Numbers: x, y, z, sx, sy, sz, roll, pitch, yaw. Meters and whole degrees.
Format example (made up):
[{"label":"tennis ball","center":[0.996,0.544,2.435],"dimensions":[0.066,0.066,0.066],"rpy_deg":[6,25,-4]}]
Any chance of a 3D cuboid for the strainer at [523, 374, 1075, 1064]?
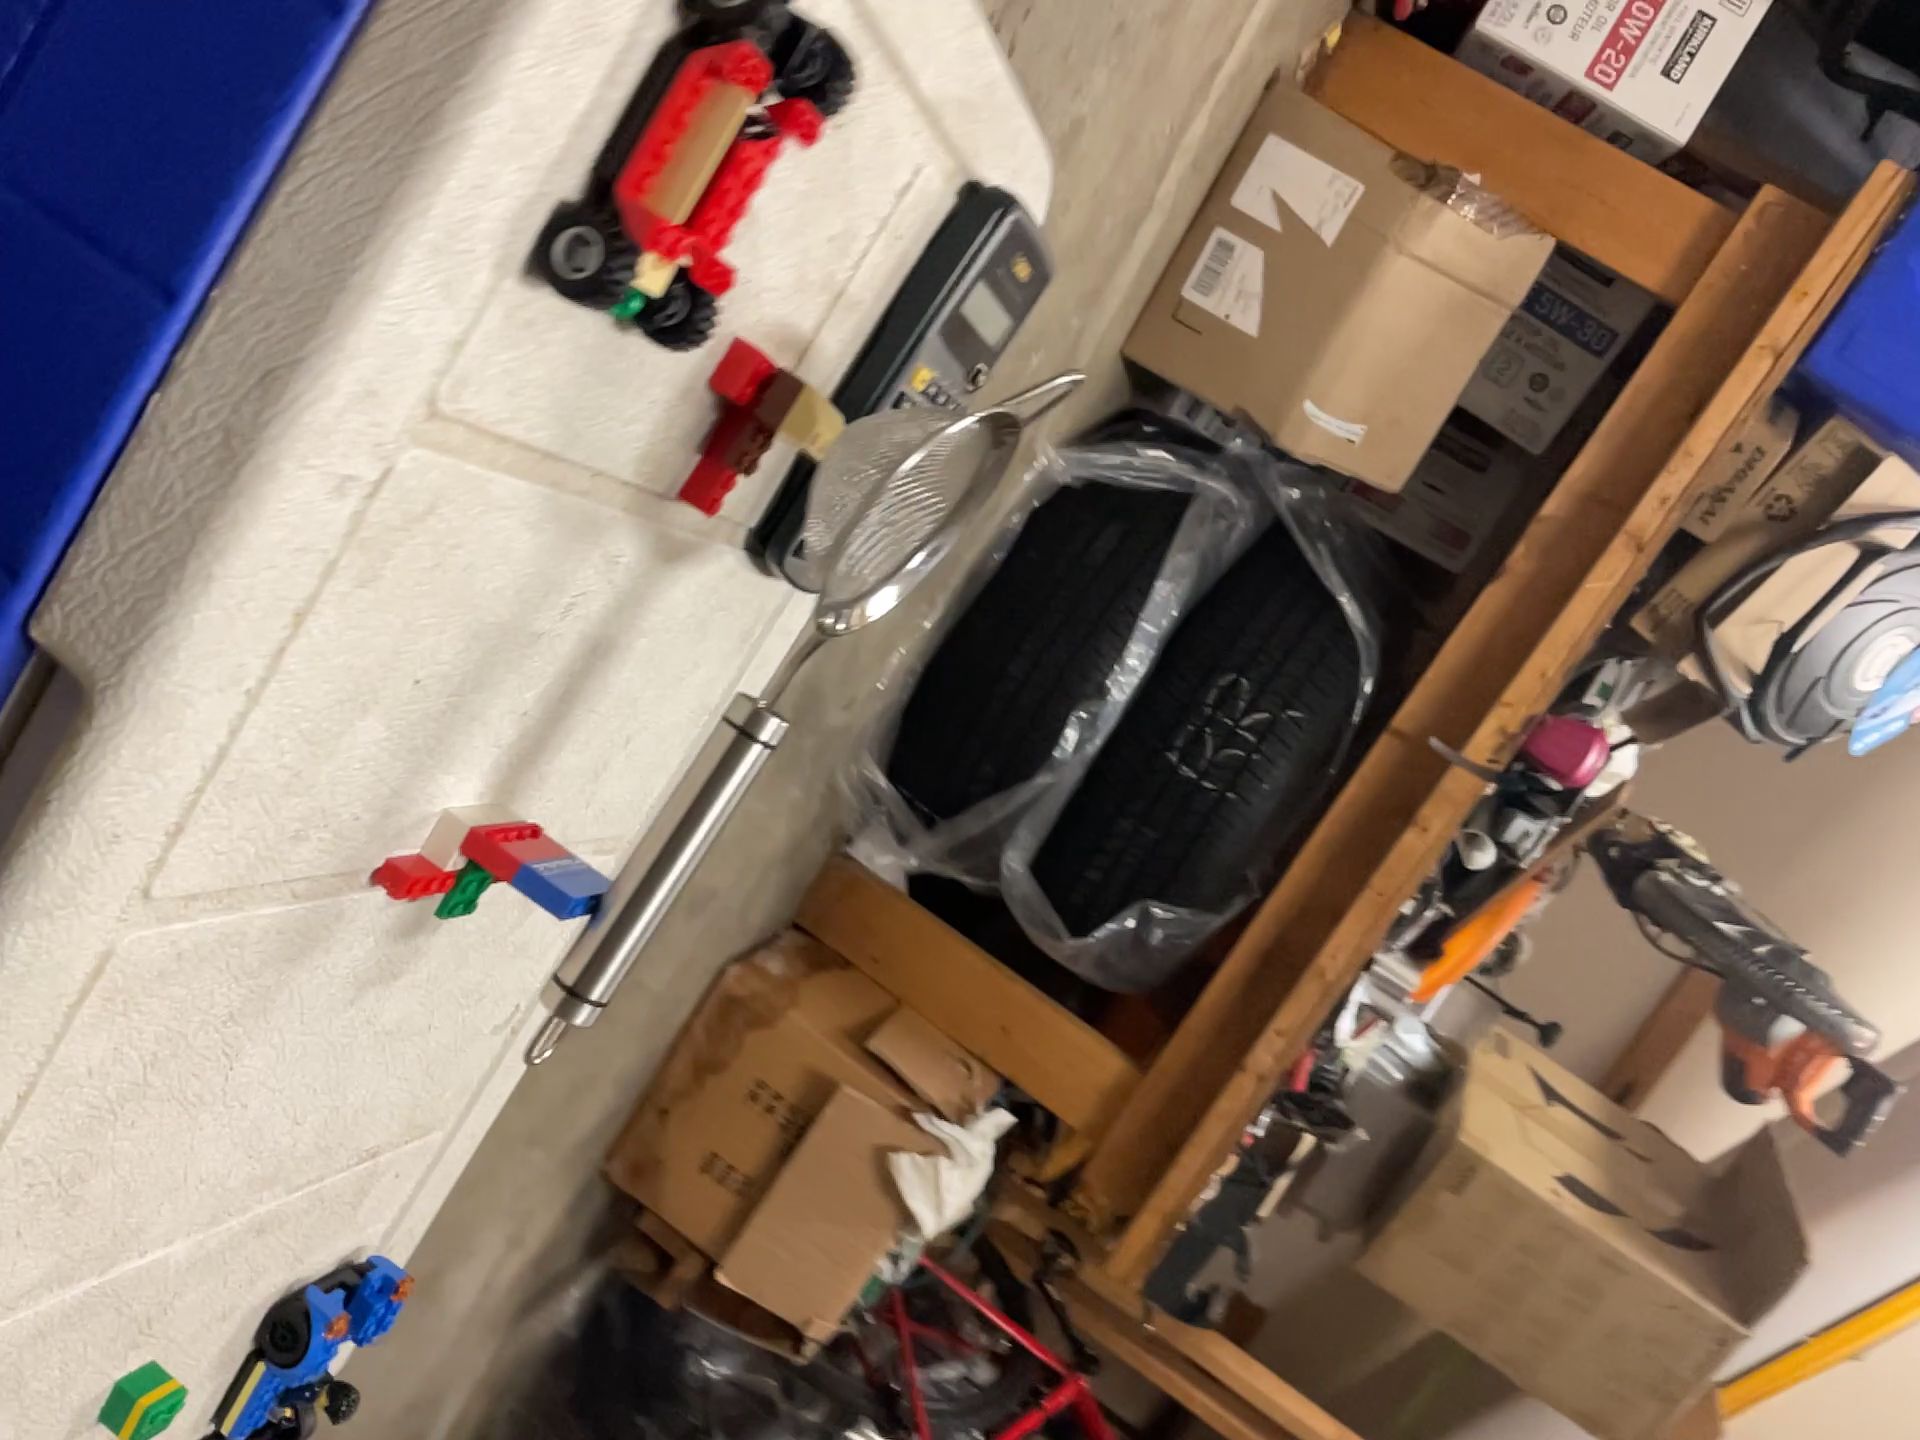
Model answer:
[{"label":"strainer","center":[-0.059,-0.006,0.474],"dimensions":[0.258,0.050,0.087],"rpy_deg":[-56,167,2]}]
